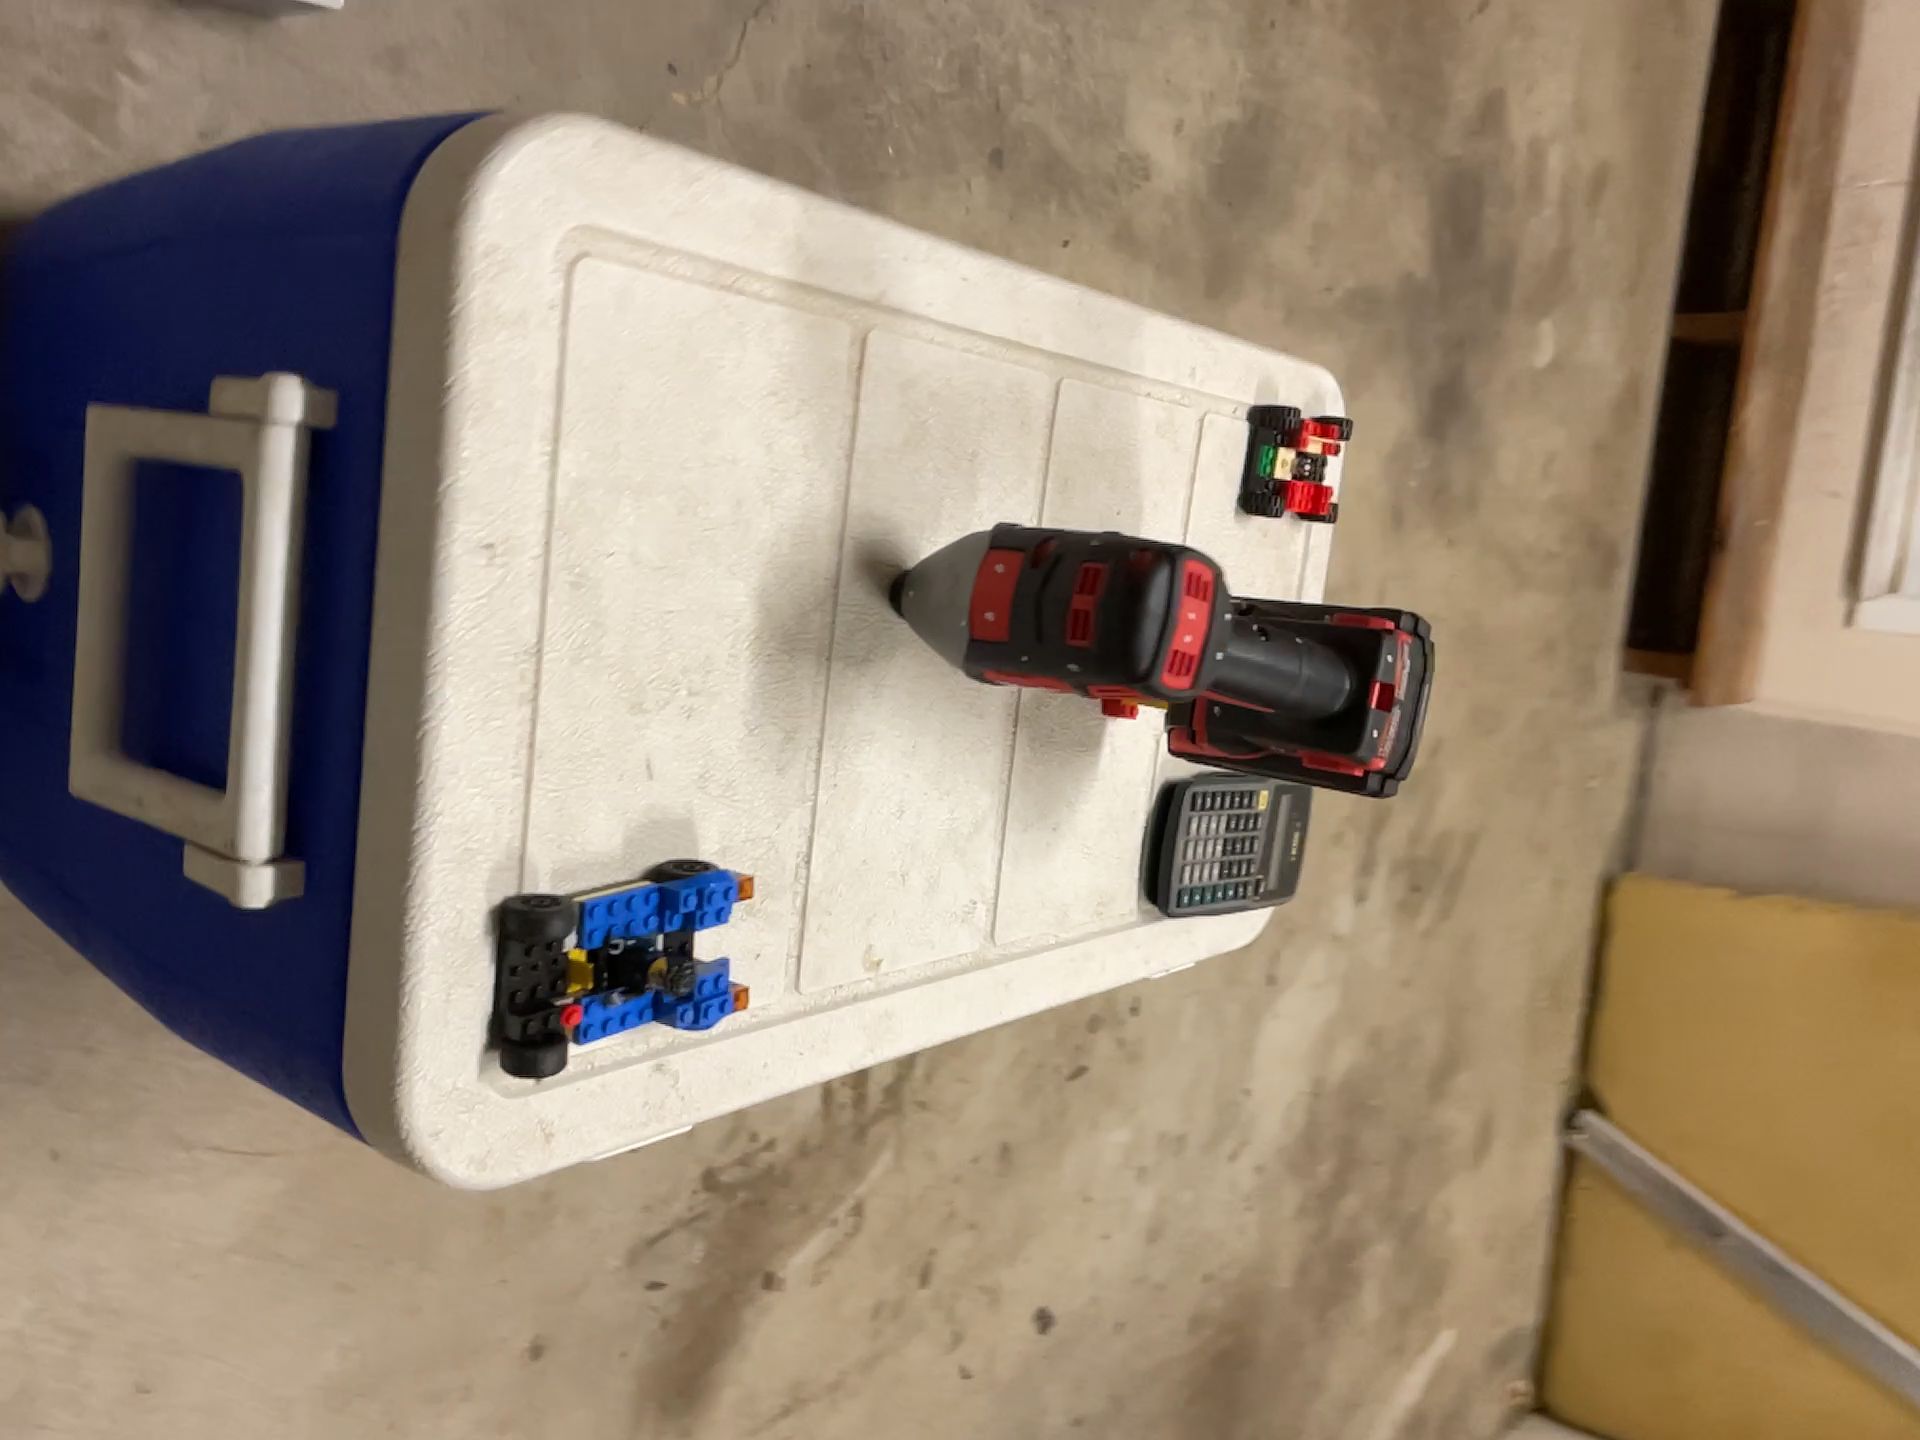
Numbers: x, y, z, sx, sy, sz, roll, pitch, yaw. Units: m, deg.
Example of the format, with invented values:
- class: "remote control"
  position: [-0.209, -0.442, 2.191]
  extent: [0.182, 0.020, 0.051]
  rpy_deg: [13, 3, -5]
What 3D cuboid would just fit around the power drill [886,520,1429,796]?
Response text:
- class: "power drill"
  position: [0.081, -0.028, 0.640]
  extent: [0.219, 0.143, 0.078]
  rpy_deg: [13, 88, -47]
